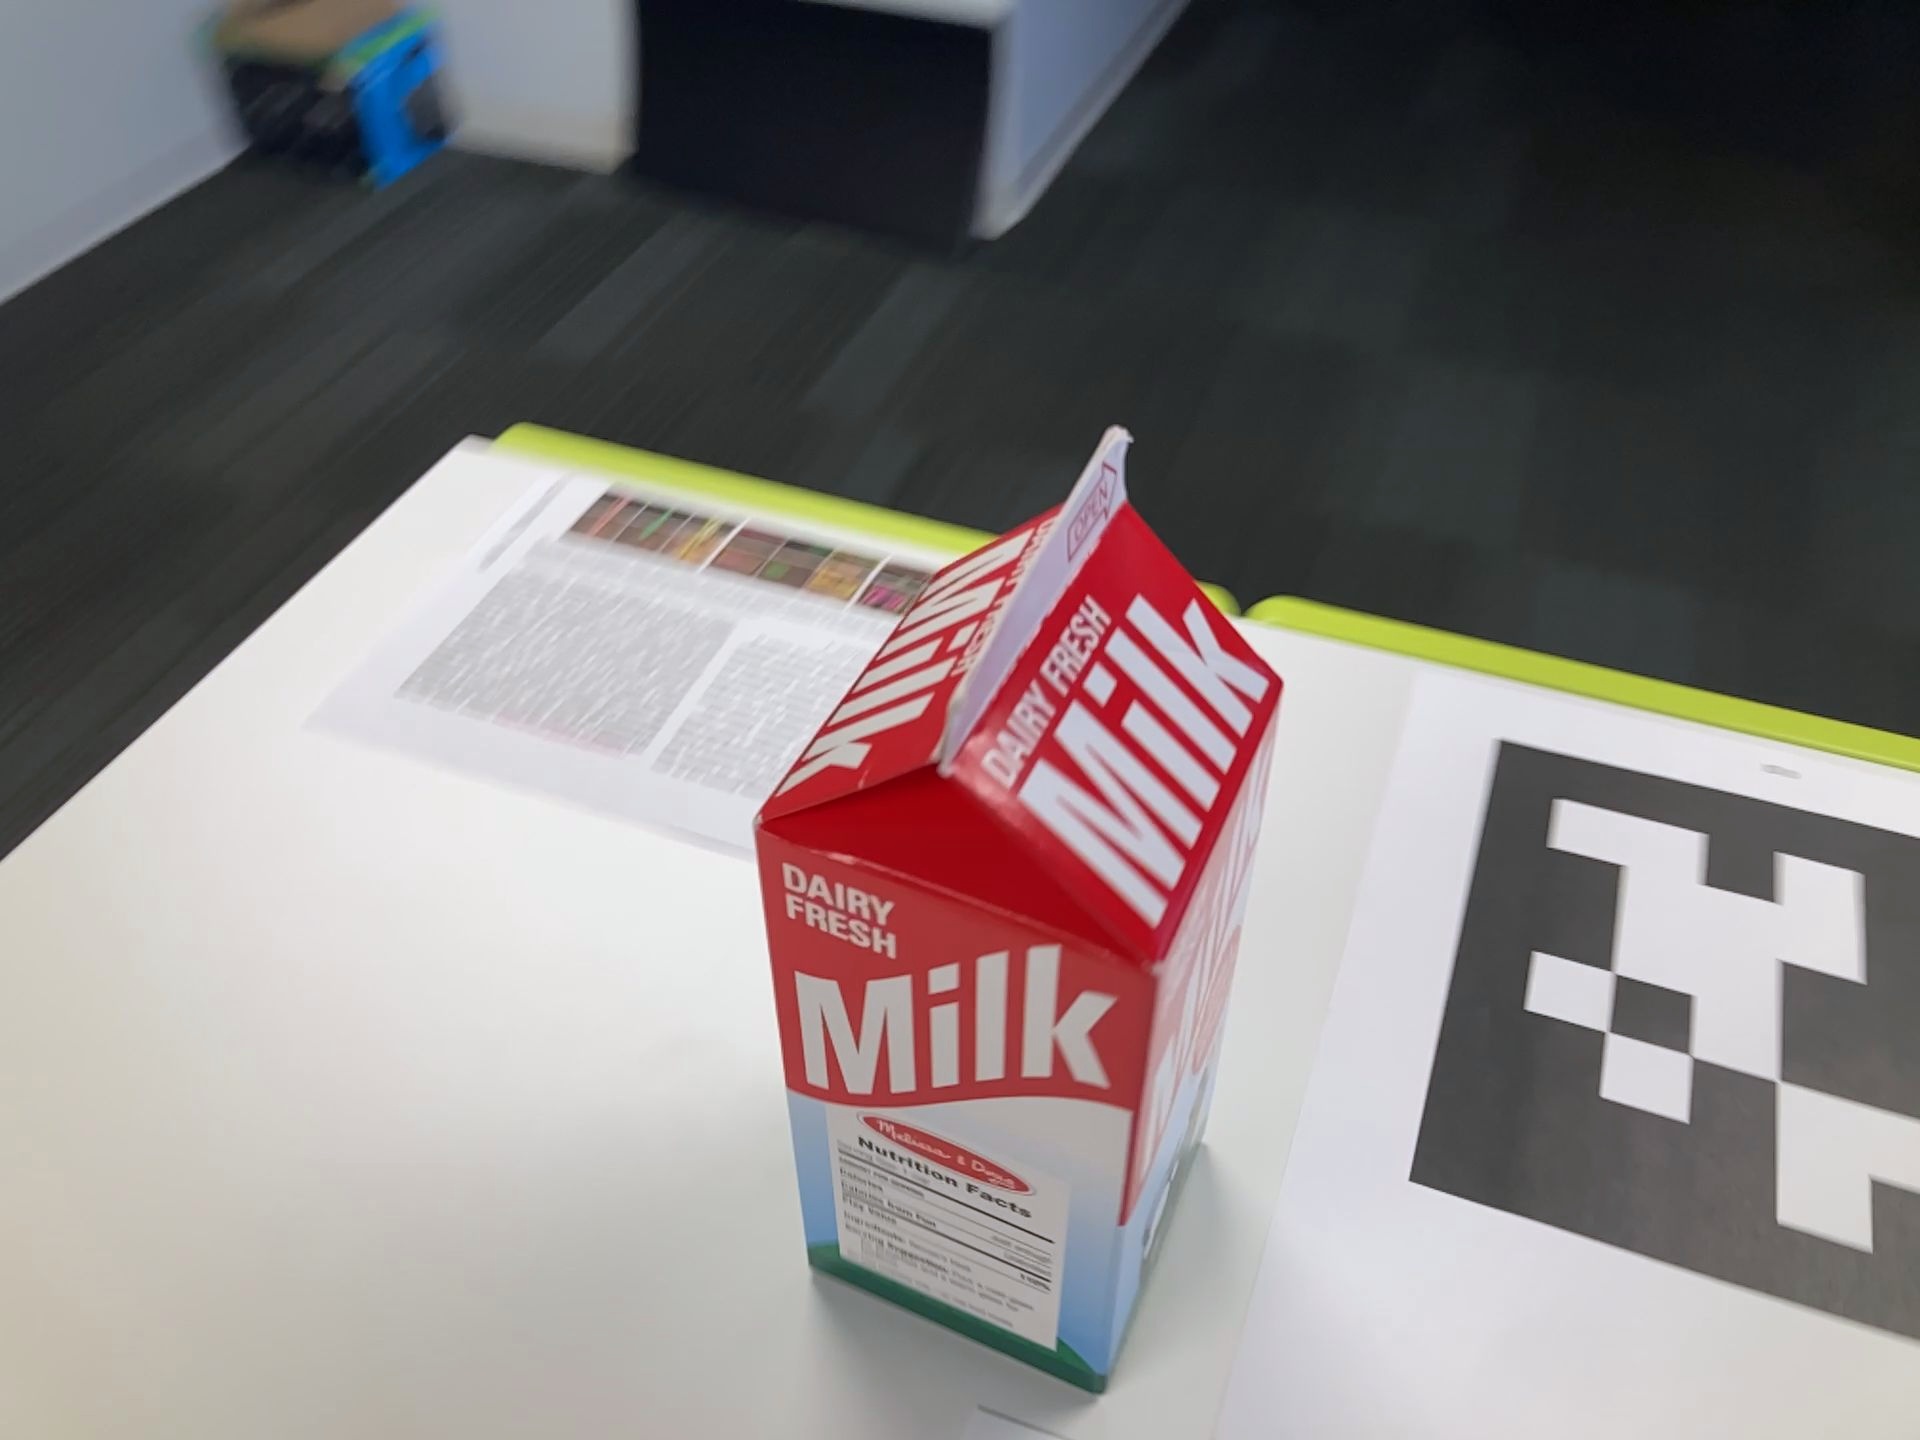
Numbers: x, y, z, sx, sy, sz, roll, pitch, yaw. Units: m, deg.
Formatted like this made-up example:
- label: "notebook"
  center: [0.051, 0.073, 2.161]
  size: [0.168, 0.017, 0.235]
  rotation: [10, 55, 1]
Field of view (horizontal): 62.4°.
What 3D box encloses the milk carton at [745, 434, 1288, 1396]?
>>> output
- label: "milk carton"
  center: [0.012, 0.043, 0.303]
  size: [0.073, 0.190, 0.072]
  rotation: [17, 47, 18]
